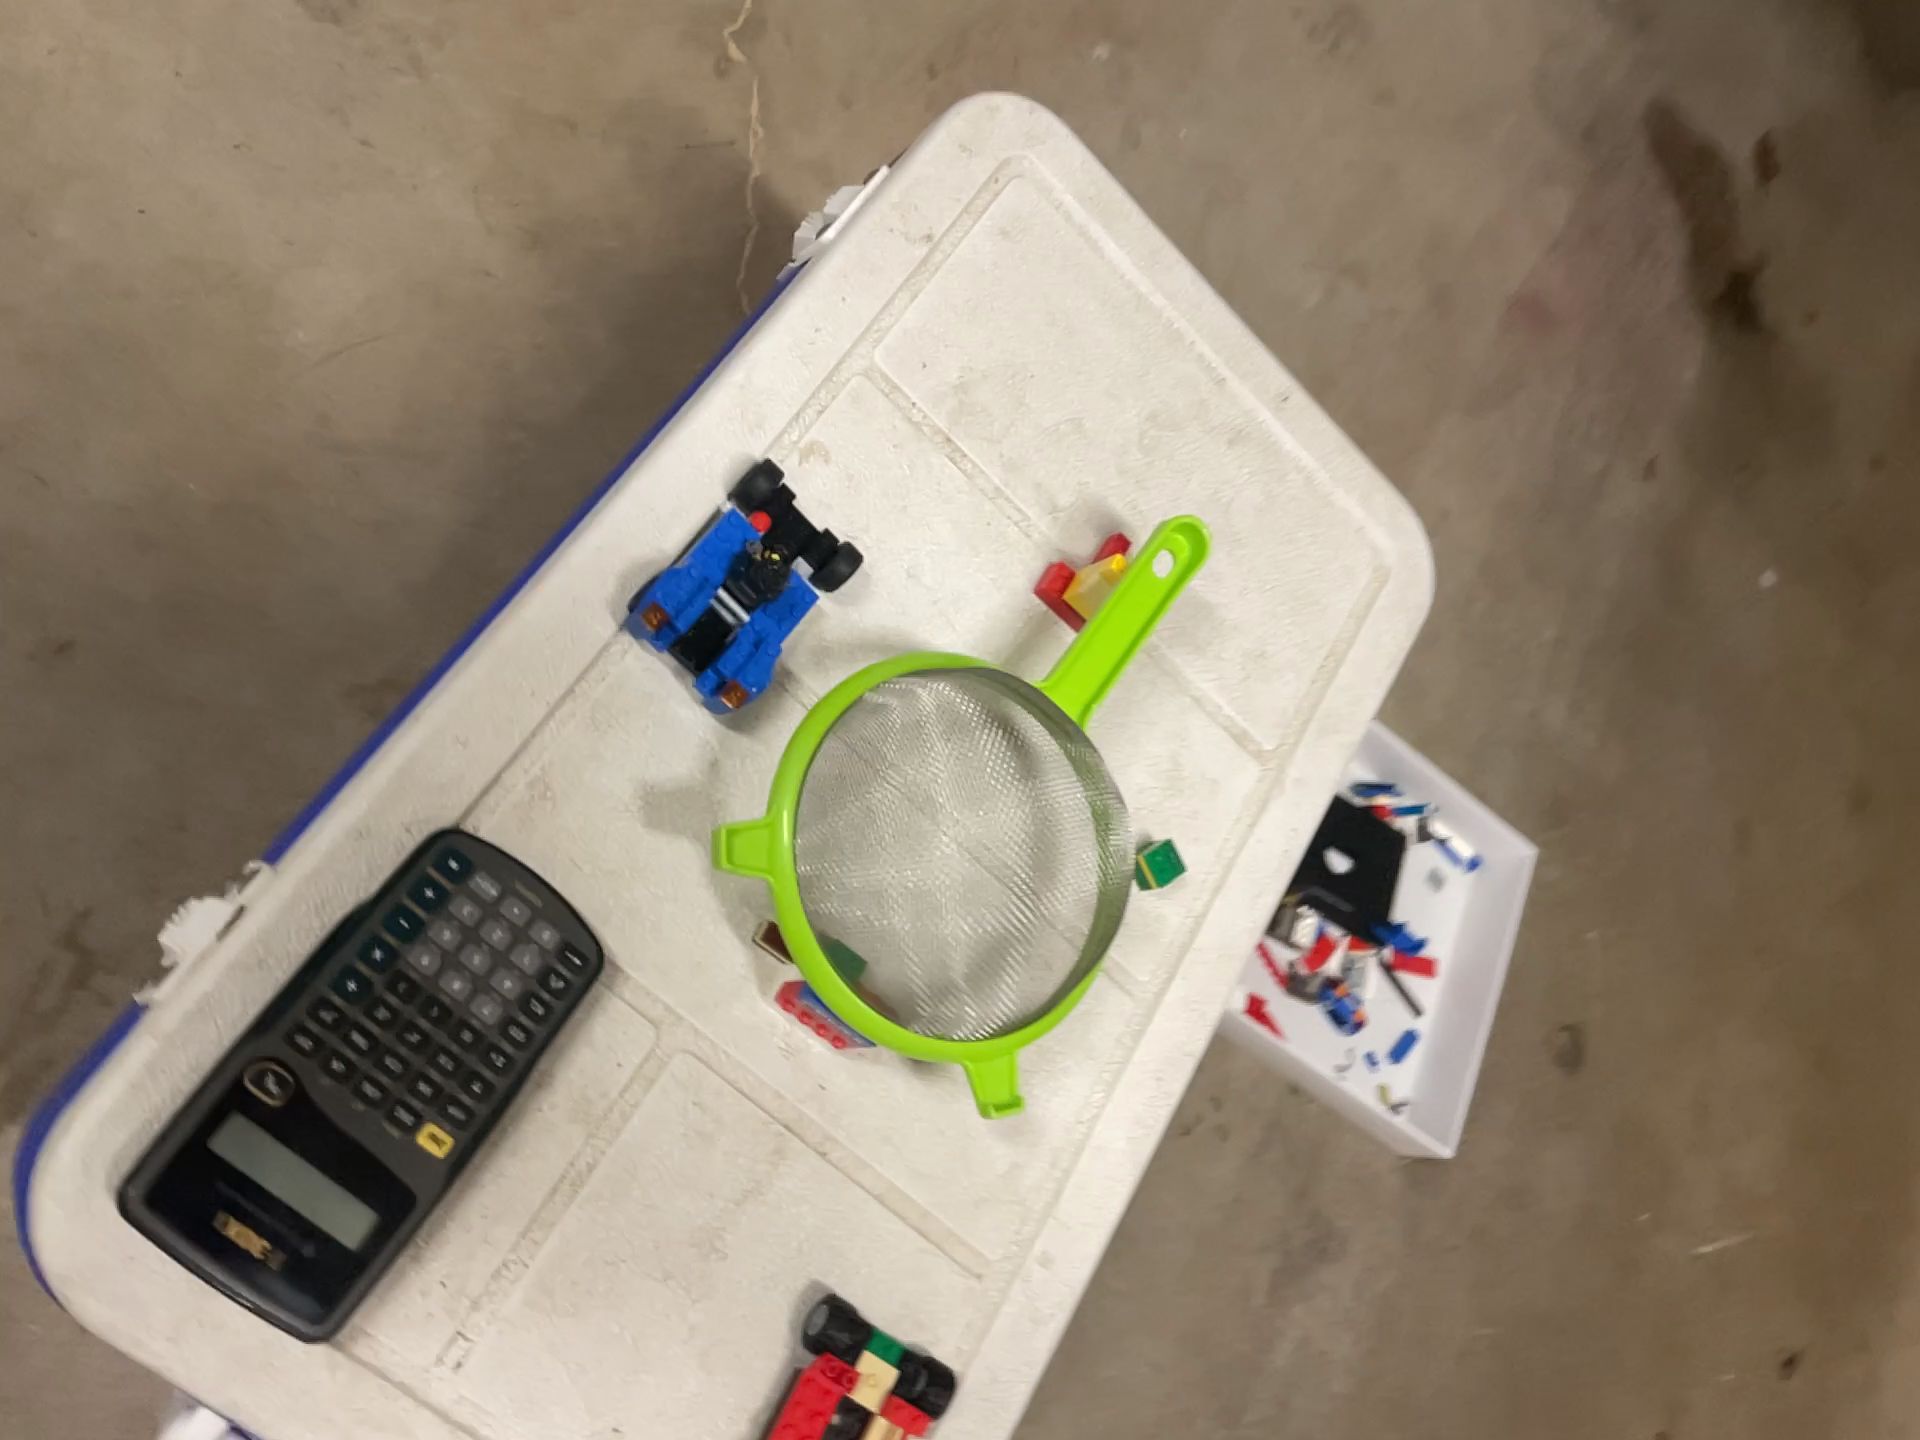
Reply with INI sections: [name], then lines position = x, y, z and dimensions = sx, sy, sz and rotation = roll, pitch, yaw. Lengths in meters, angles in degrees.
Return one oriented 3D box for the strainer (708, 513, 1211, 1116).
[strainer]
position = 0.039, 0.006, 0.589
dimensions = 0.151, 0.069, 0.257
rotation = 45, 63, -14
